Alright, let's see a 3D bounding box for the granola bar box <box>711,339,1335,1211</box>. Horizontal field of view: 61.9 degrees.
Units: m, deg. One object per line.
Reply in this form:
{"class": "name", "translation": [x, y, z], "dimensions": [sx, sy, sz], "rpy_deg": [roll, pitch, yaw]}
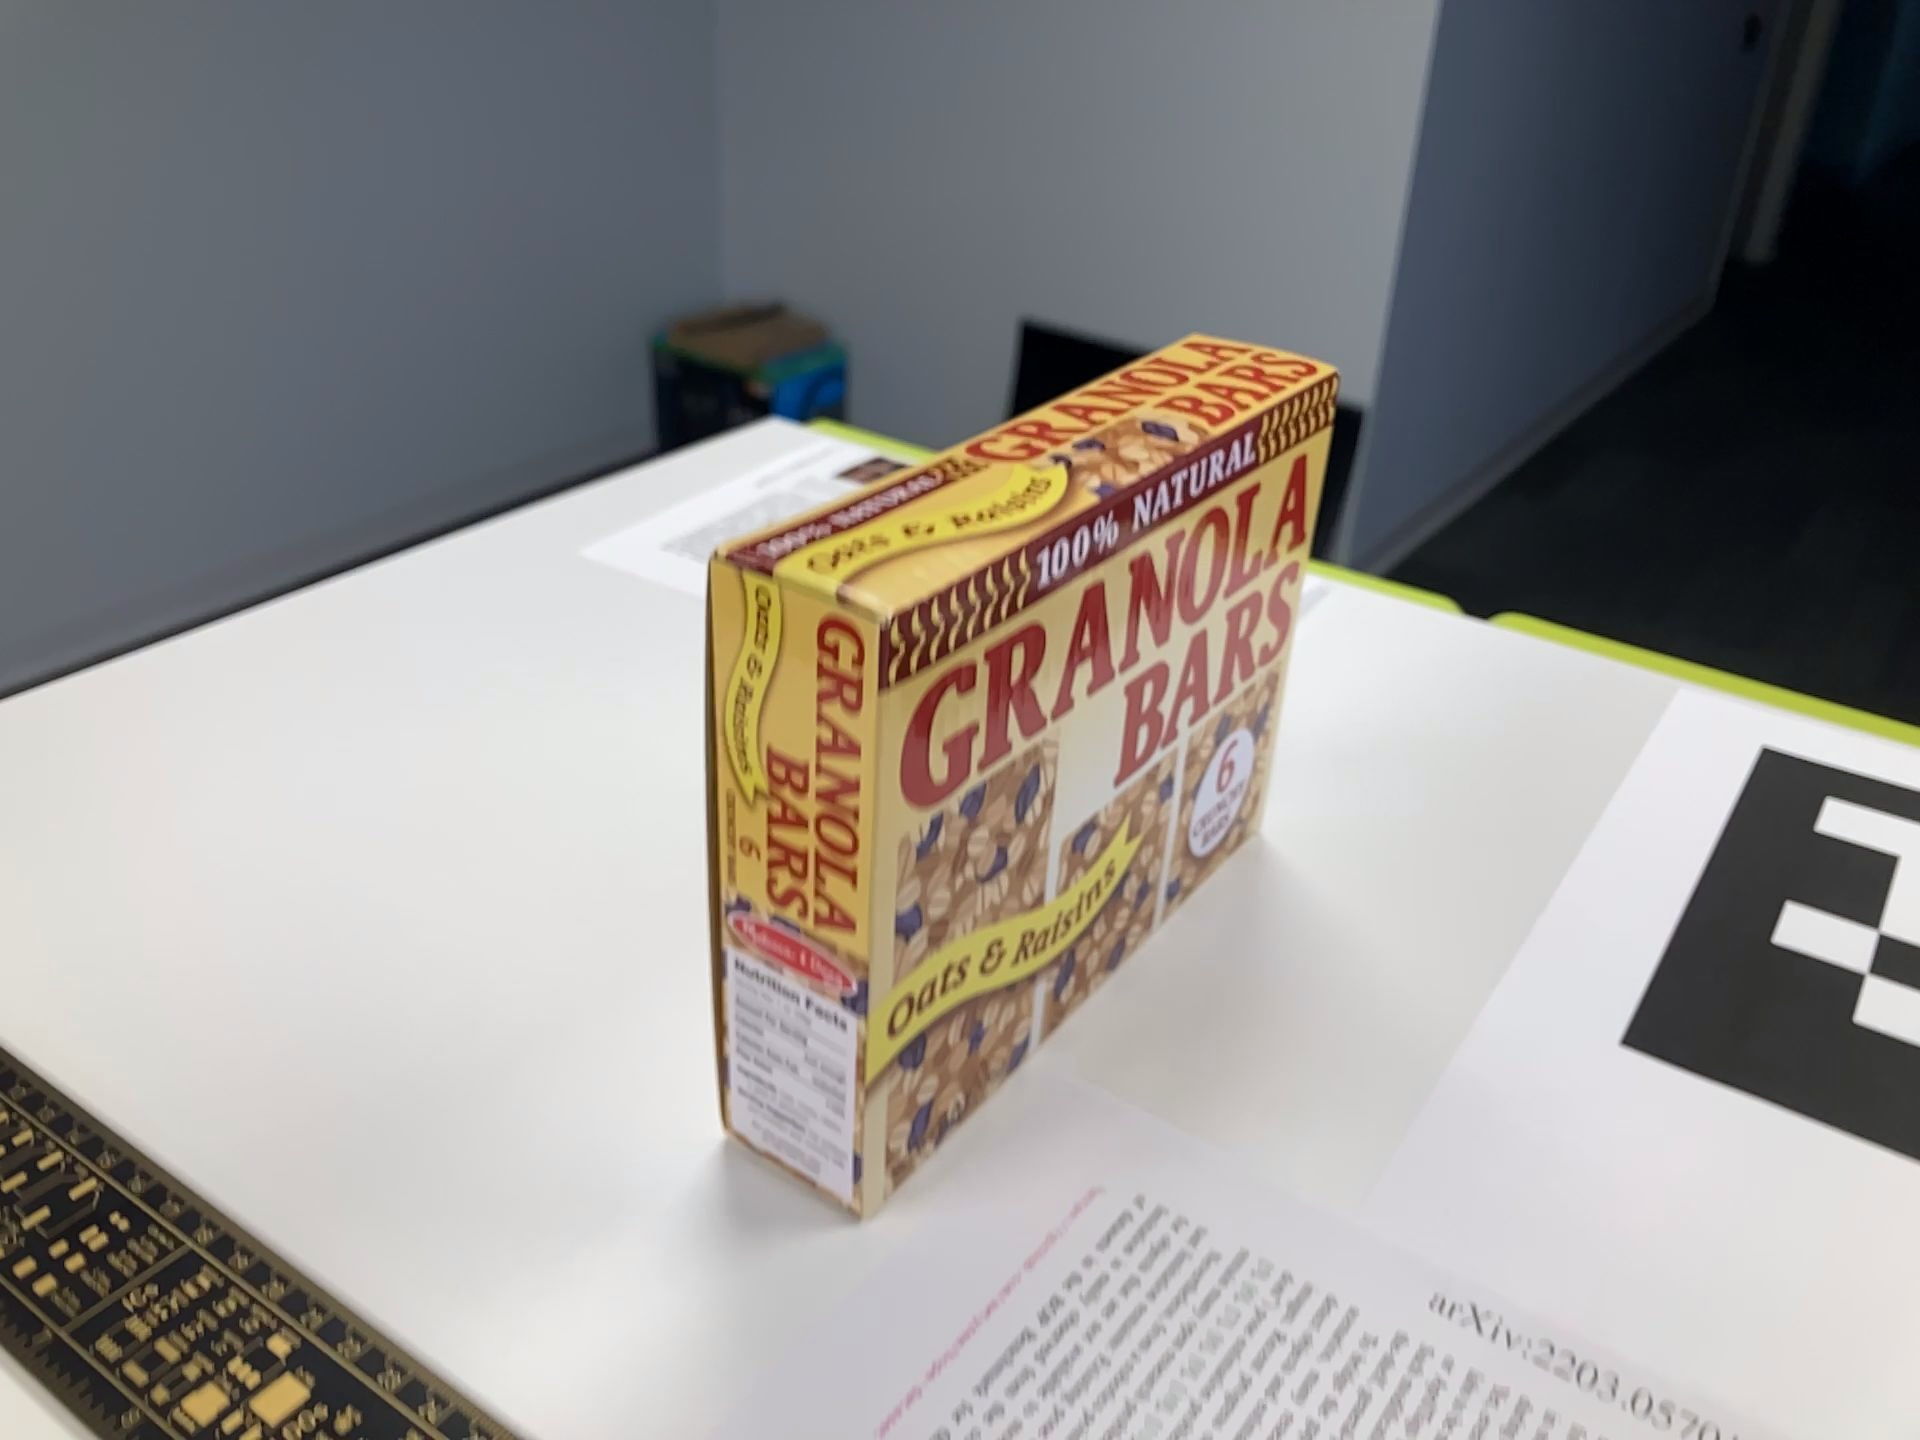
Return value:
{"class": "granola bar box", "translation": [0.018, 0.001, 0.333], "dimensions": [0.039, 0.124, 0.165], "rpy_deg": [21, 34, 28]}
